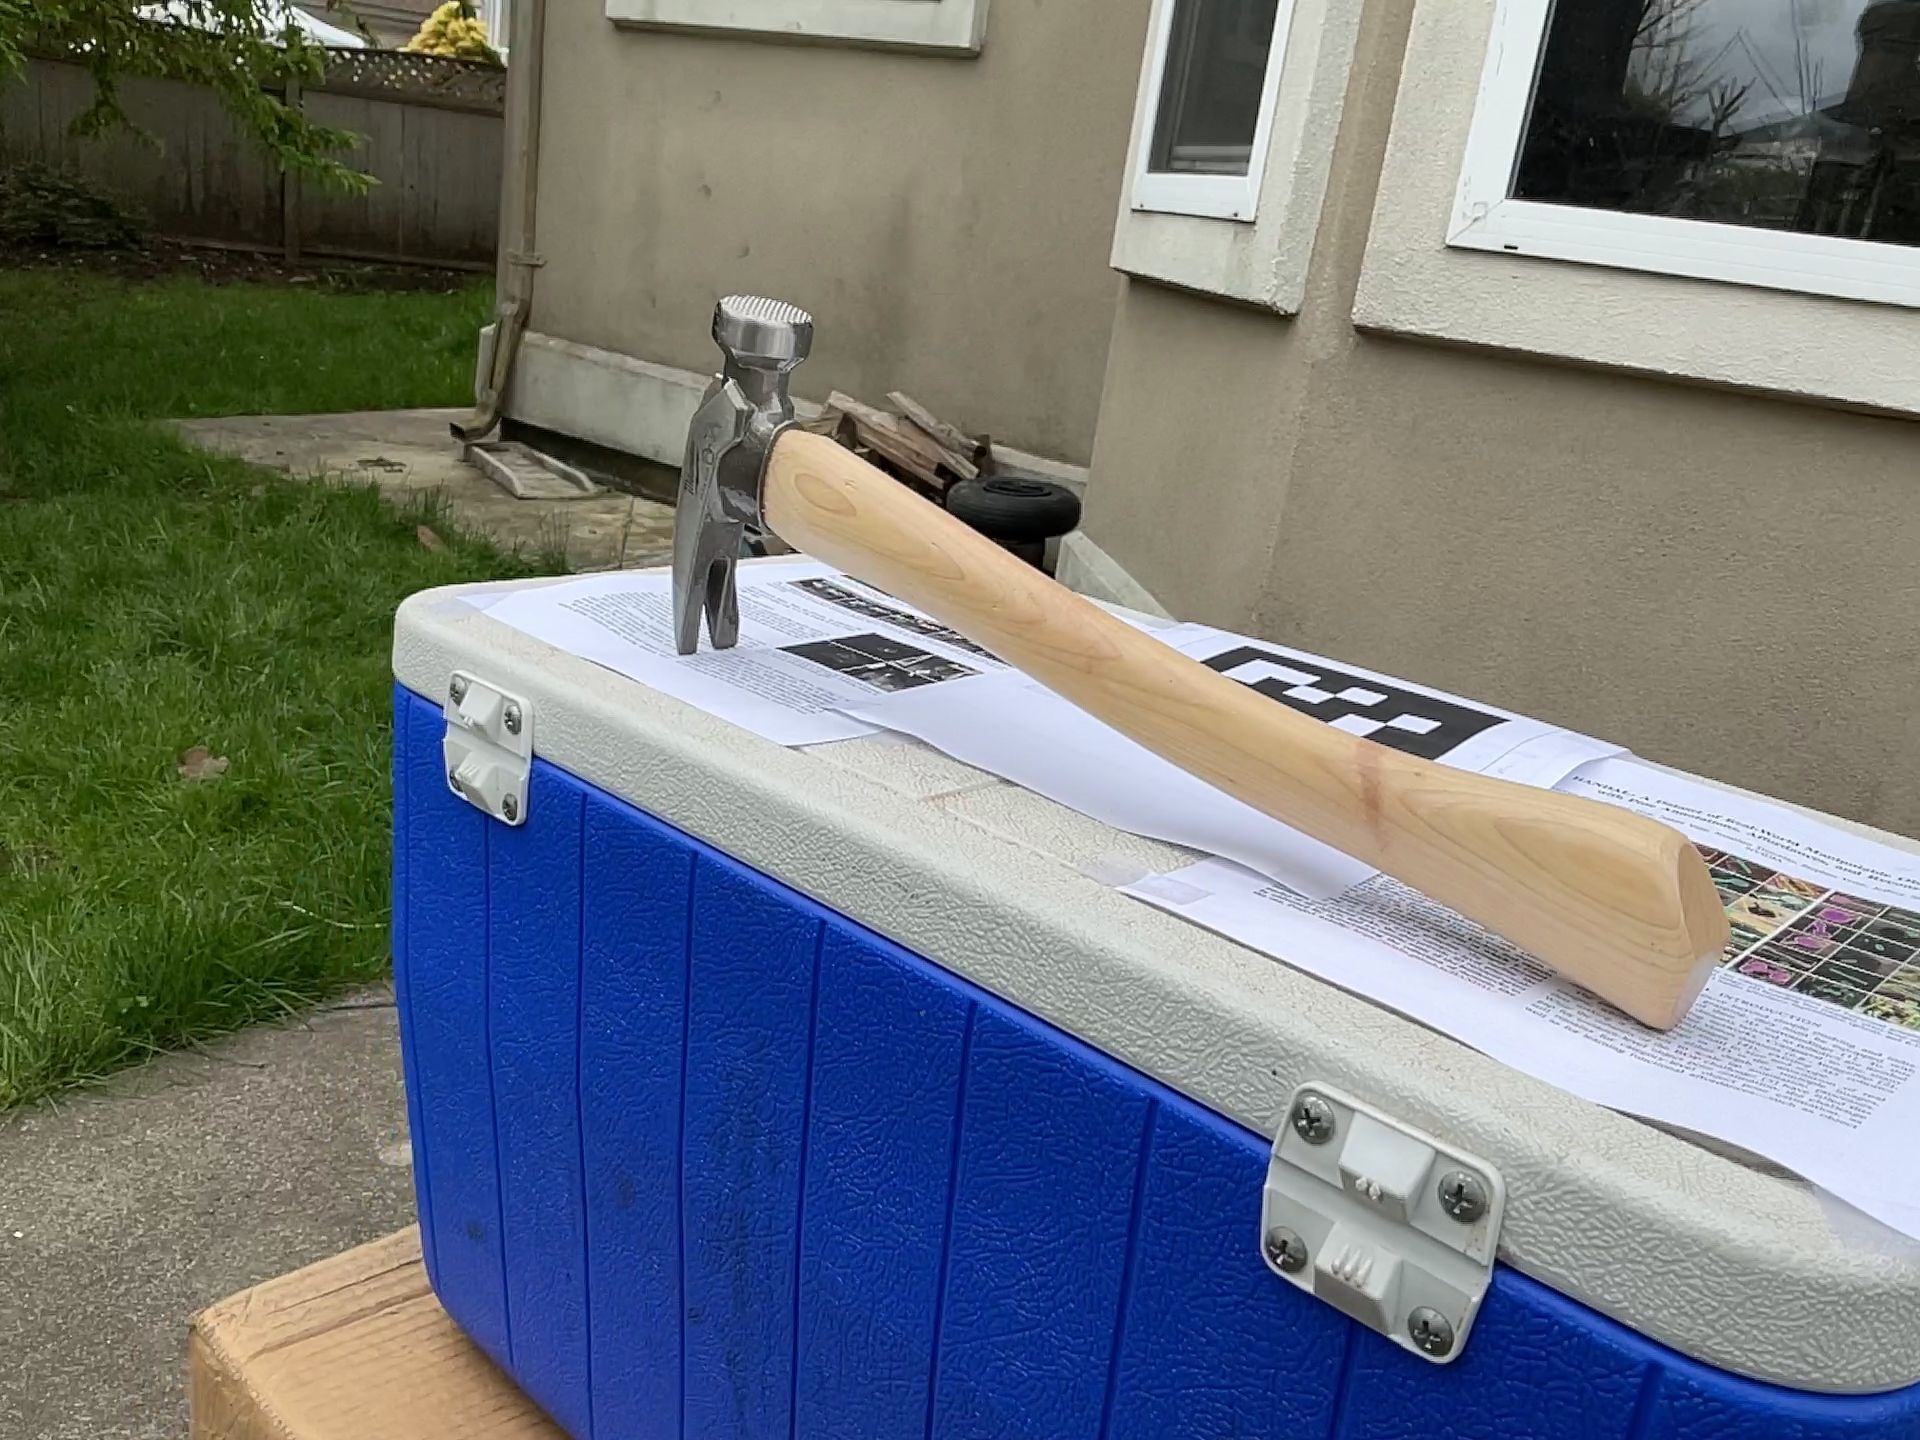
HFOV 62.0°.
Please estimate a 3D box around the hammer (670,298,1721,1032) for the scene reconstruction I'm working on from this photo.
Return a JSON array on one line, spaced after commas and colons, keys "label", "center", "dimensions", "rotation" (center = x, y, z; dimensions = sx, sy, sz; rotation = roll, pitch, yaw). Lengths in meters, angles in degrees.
[{"label": "hammer", "center": [0.042, -0.012, 0.535], "dimensions": [0.411, 0.146, 0.038], "rotation": [32, 29, 34]}]
